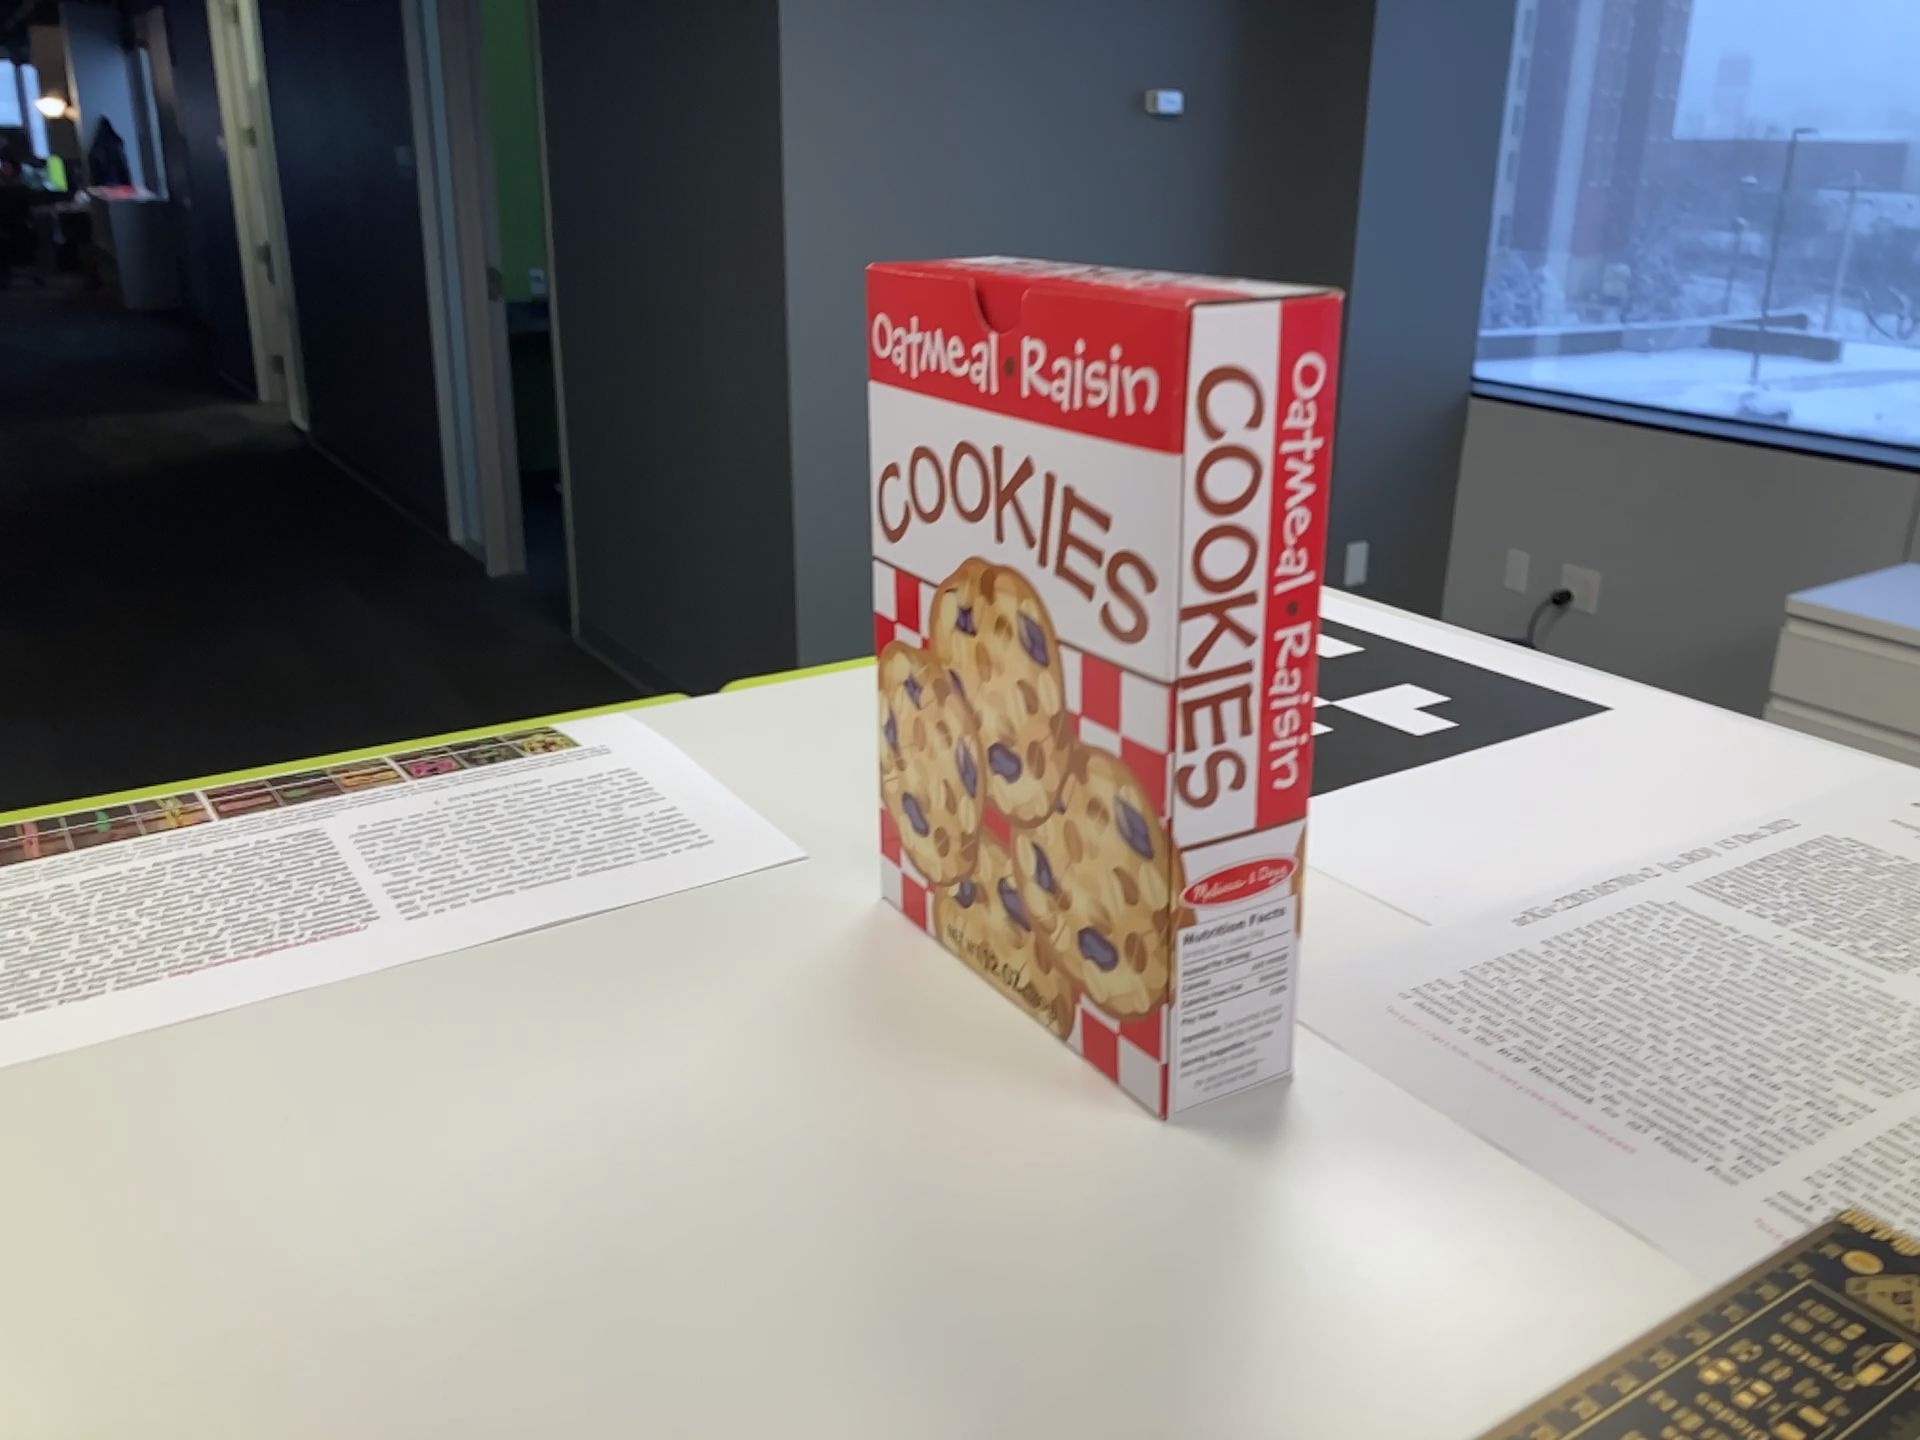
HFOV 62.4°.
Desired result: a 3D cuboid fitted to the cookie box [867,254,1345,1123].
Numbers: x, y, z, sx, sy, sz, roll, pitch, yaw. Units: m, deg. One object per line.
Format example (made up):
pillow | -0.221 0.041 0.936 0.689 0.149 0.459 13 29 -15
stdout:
cookie box | 0.024 -0.015 0.356 0.040 0.167 0.123 -11 22 -29
